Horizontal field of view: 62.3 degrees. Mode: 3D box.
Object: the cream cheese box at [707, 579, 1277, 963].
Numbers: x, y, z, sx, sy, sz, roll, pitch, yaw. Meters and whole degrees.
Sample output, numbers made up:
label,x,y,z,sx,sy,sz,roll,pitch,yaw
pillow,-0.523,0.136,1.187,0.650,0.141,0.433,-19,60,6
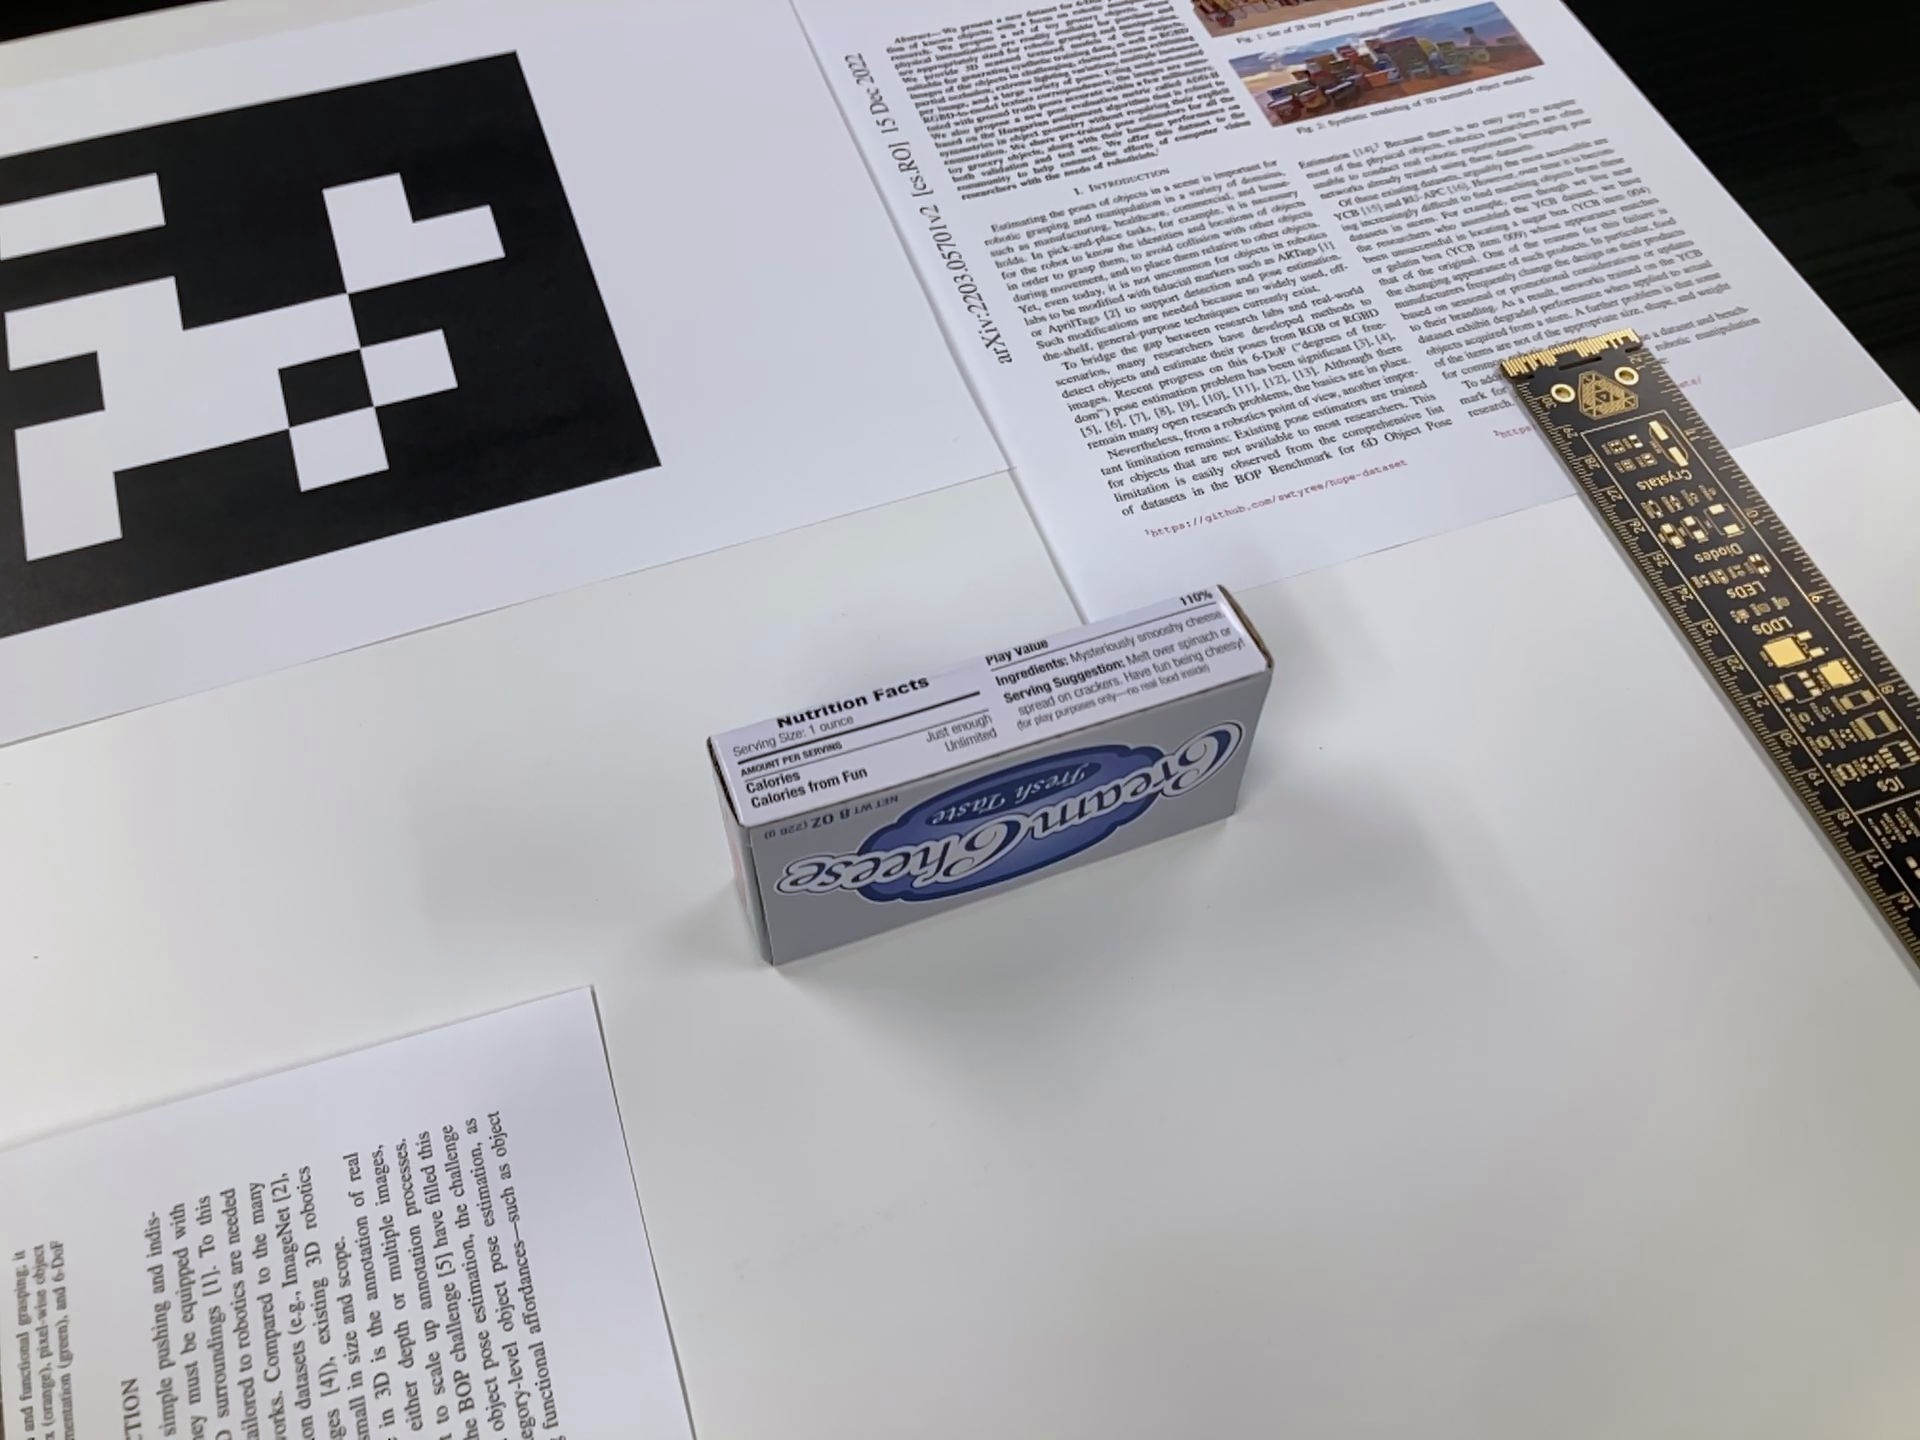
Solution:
label,x,y,z,sx,sy,sz,roll,pitch,yaw
cream cheese box,0.007,0.010,0.305,0.104,0.053,0.024,-17,59,-12
